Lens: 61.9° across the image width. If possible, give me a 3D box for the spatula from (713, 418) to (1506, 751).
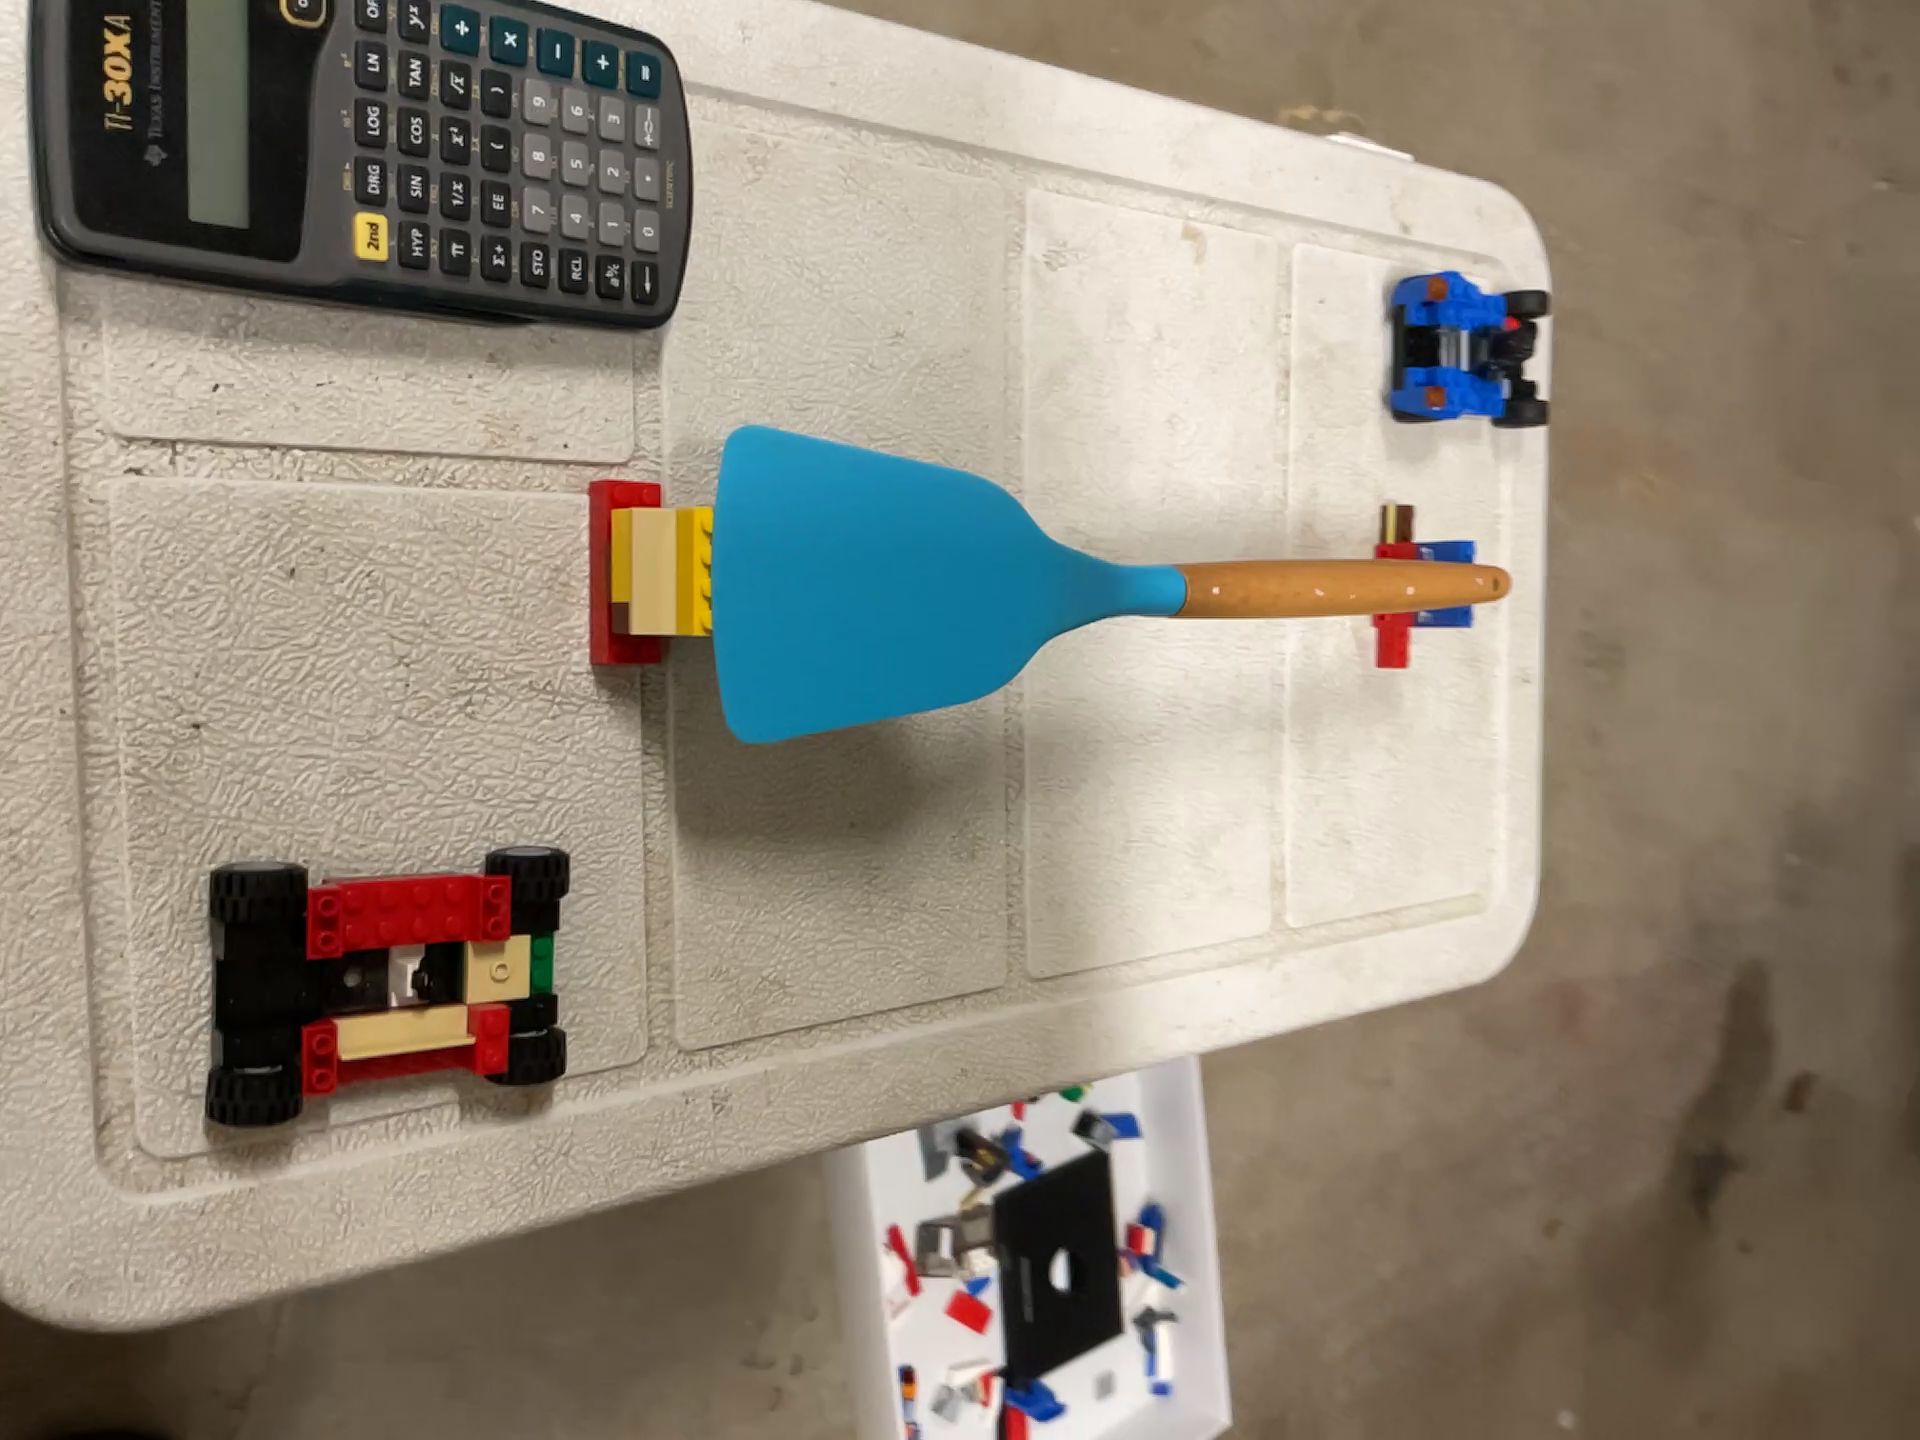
[{"bbox_3d":[0.071,-0.041,0.486,0.318,0.044,0.082,-4,95,-42],"label":"spatula"}]
